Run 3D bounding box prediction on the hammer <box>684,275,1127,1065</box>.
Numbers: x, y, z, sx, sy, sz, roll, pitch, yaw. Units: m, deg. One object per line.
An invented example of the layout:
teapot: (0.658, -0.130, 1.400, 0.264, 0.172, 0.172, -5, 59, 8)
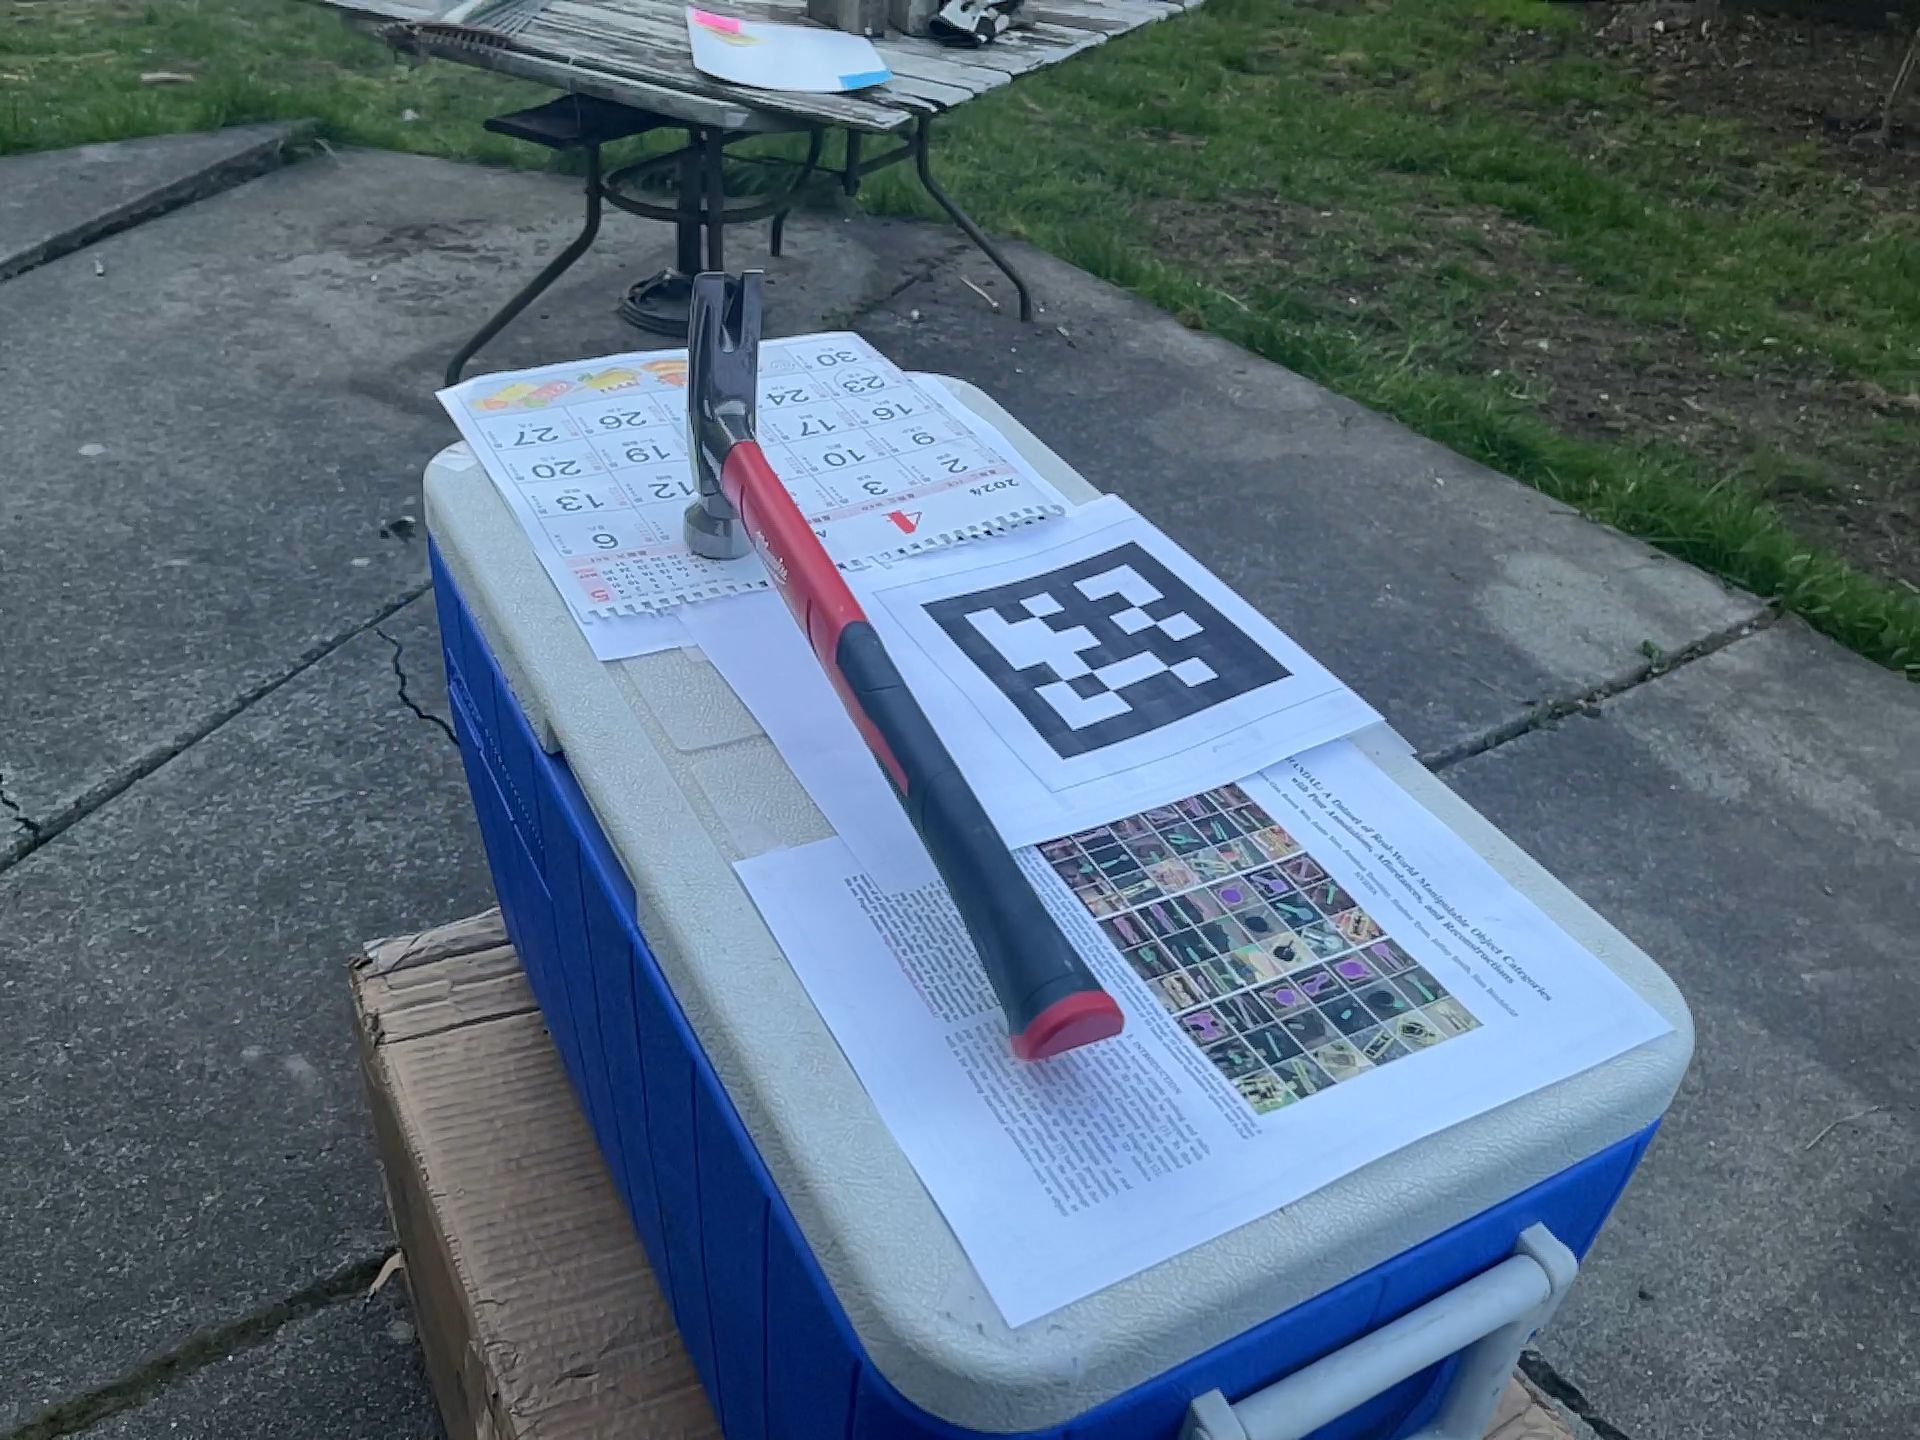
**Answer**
hammer: (-0.038, -0.030, 0.613, 0.038, 0.143, 0.386, -11, 44, -23)
